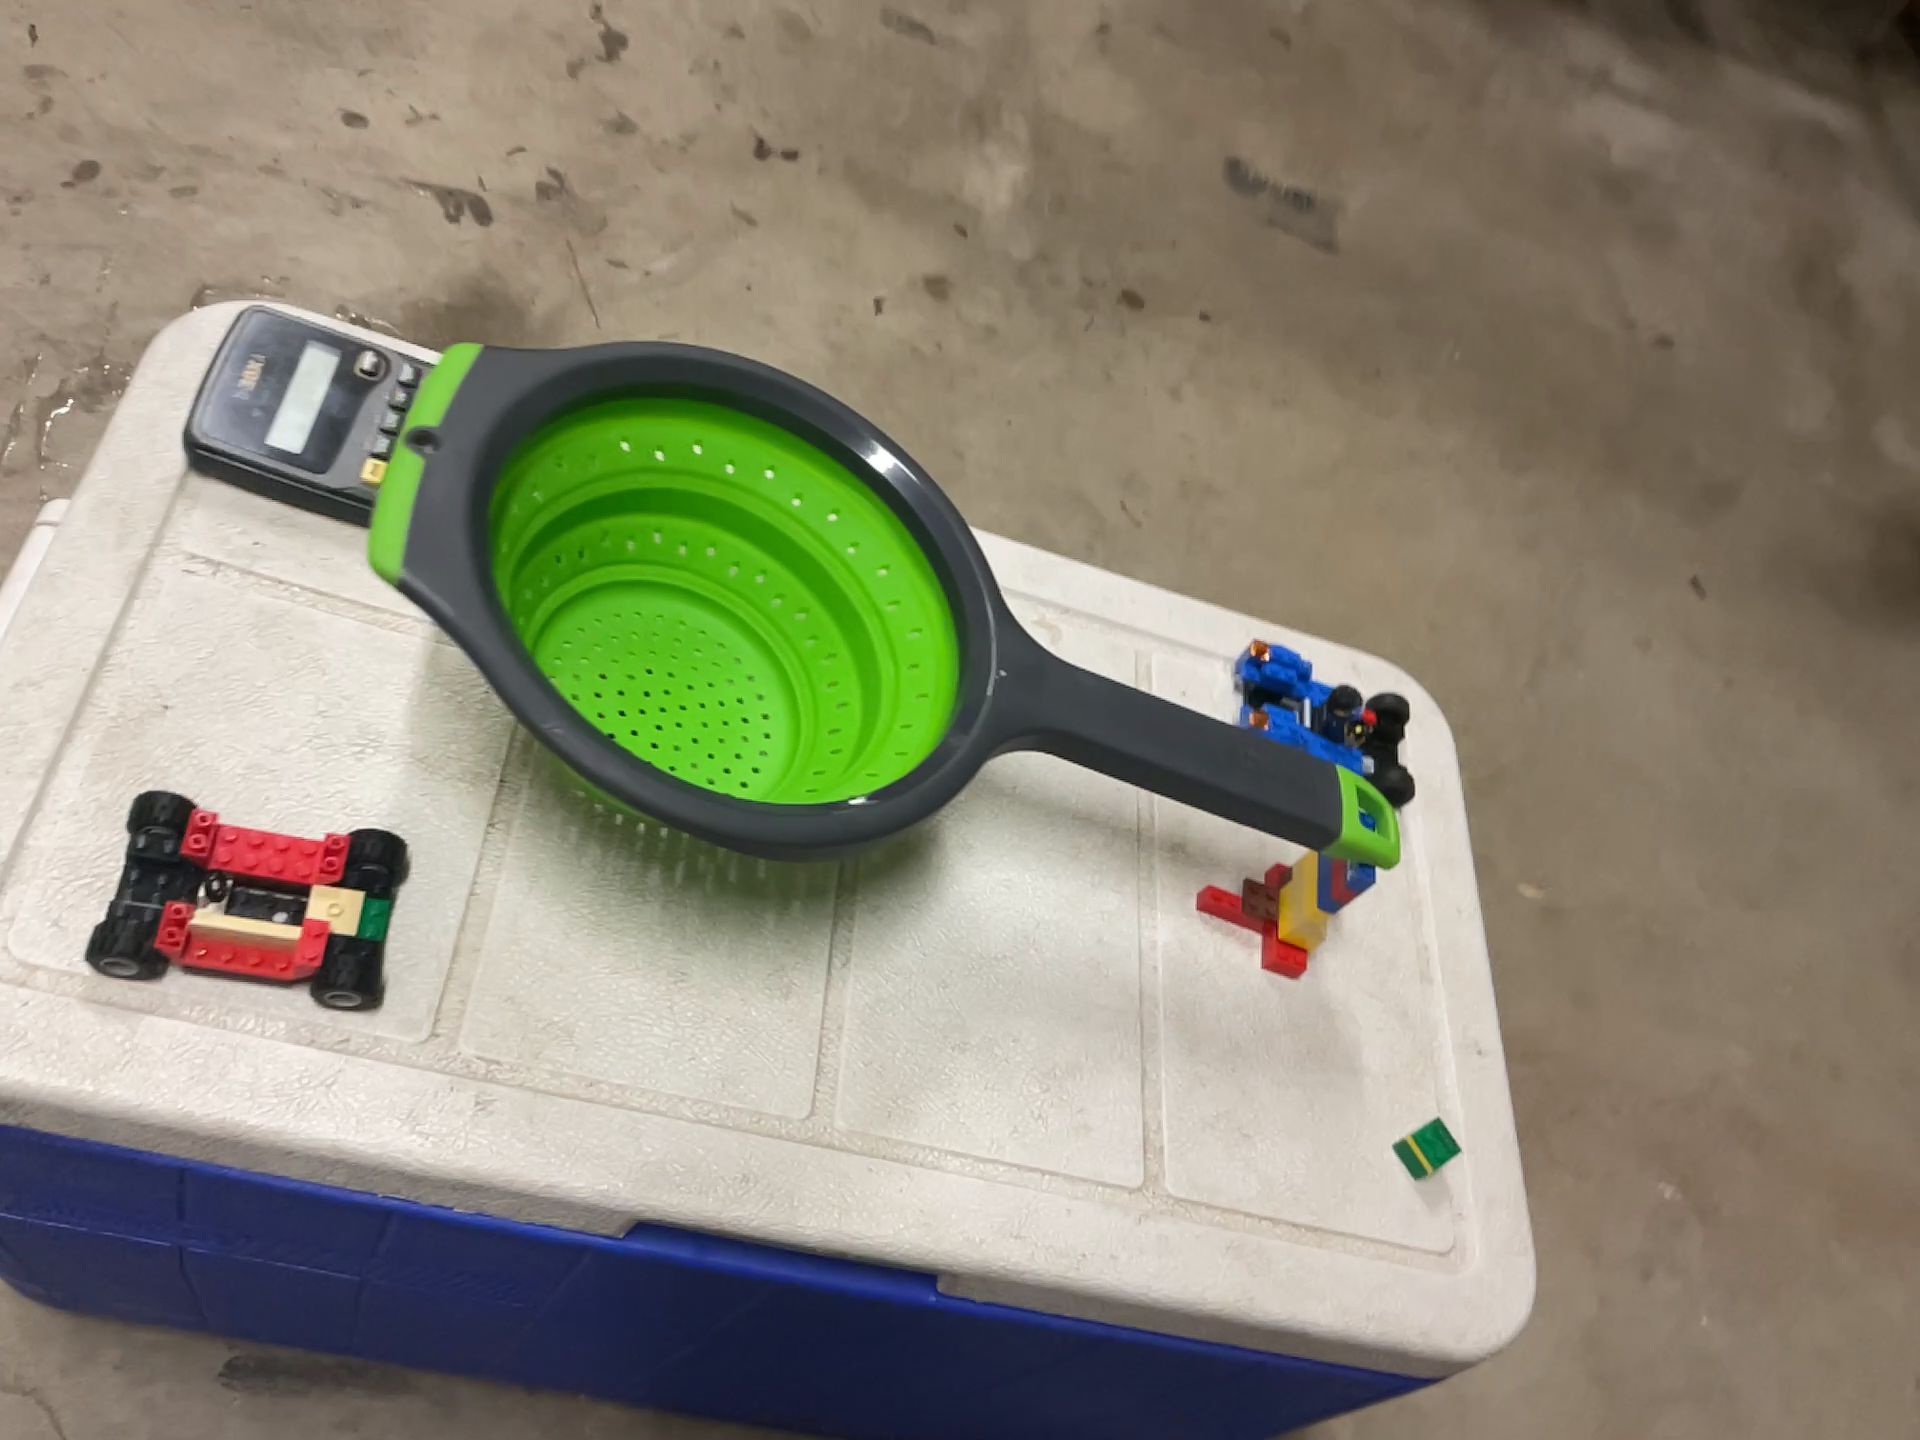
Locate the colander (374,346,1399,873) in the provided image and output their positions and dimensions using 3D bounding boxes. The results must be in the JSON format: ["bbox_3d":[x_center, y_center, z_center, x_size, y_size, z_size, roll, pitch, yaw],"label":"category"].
[{"bbox_3d":[-0.018,0.000,0.595,0.397,0.094,0.205,21,49,-19],"label":"colander"}]
